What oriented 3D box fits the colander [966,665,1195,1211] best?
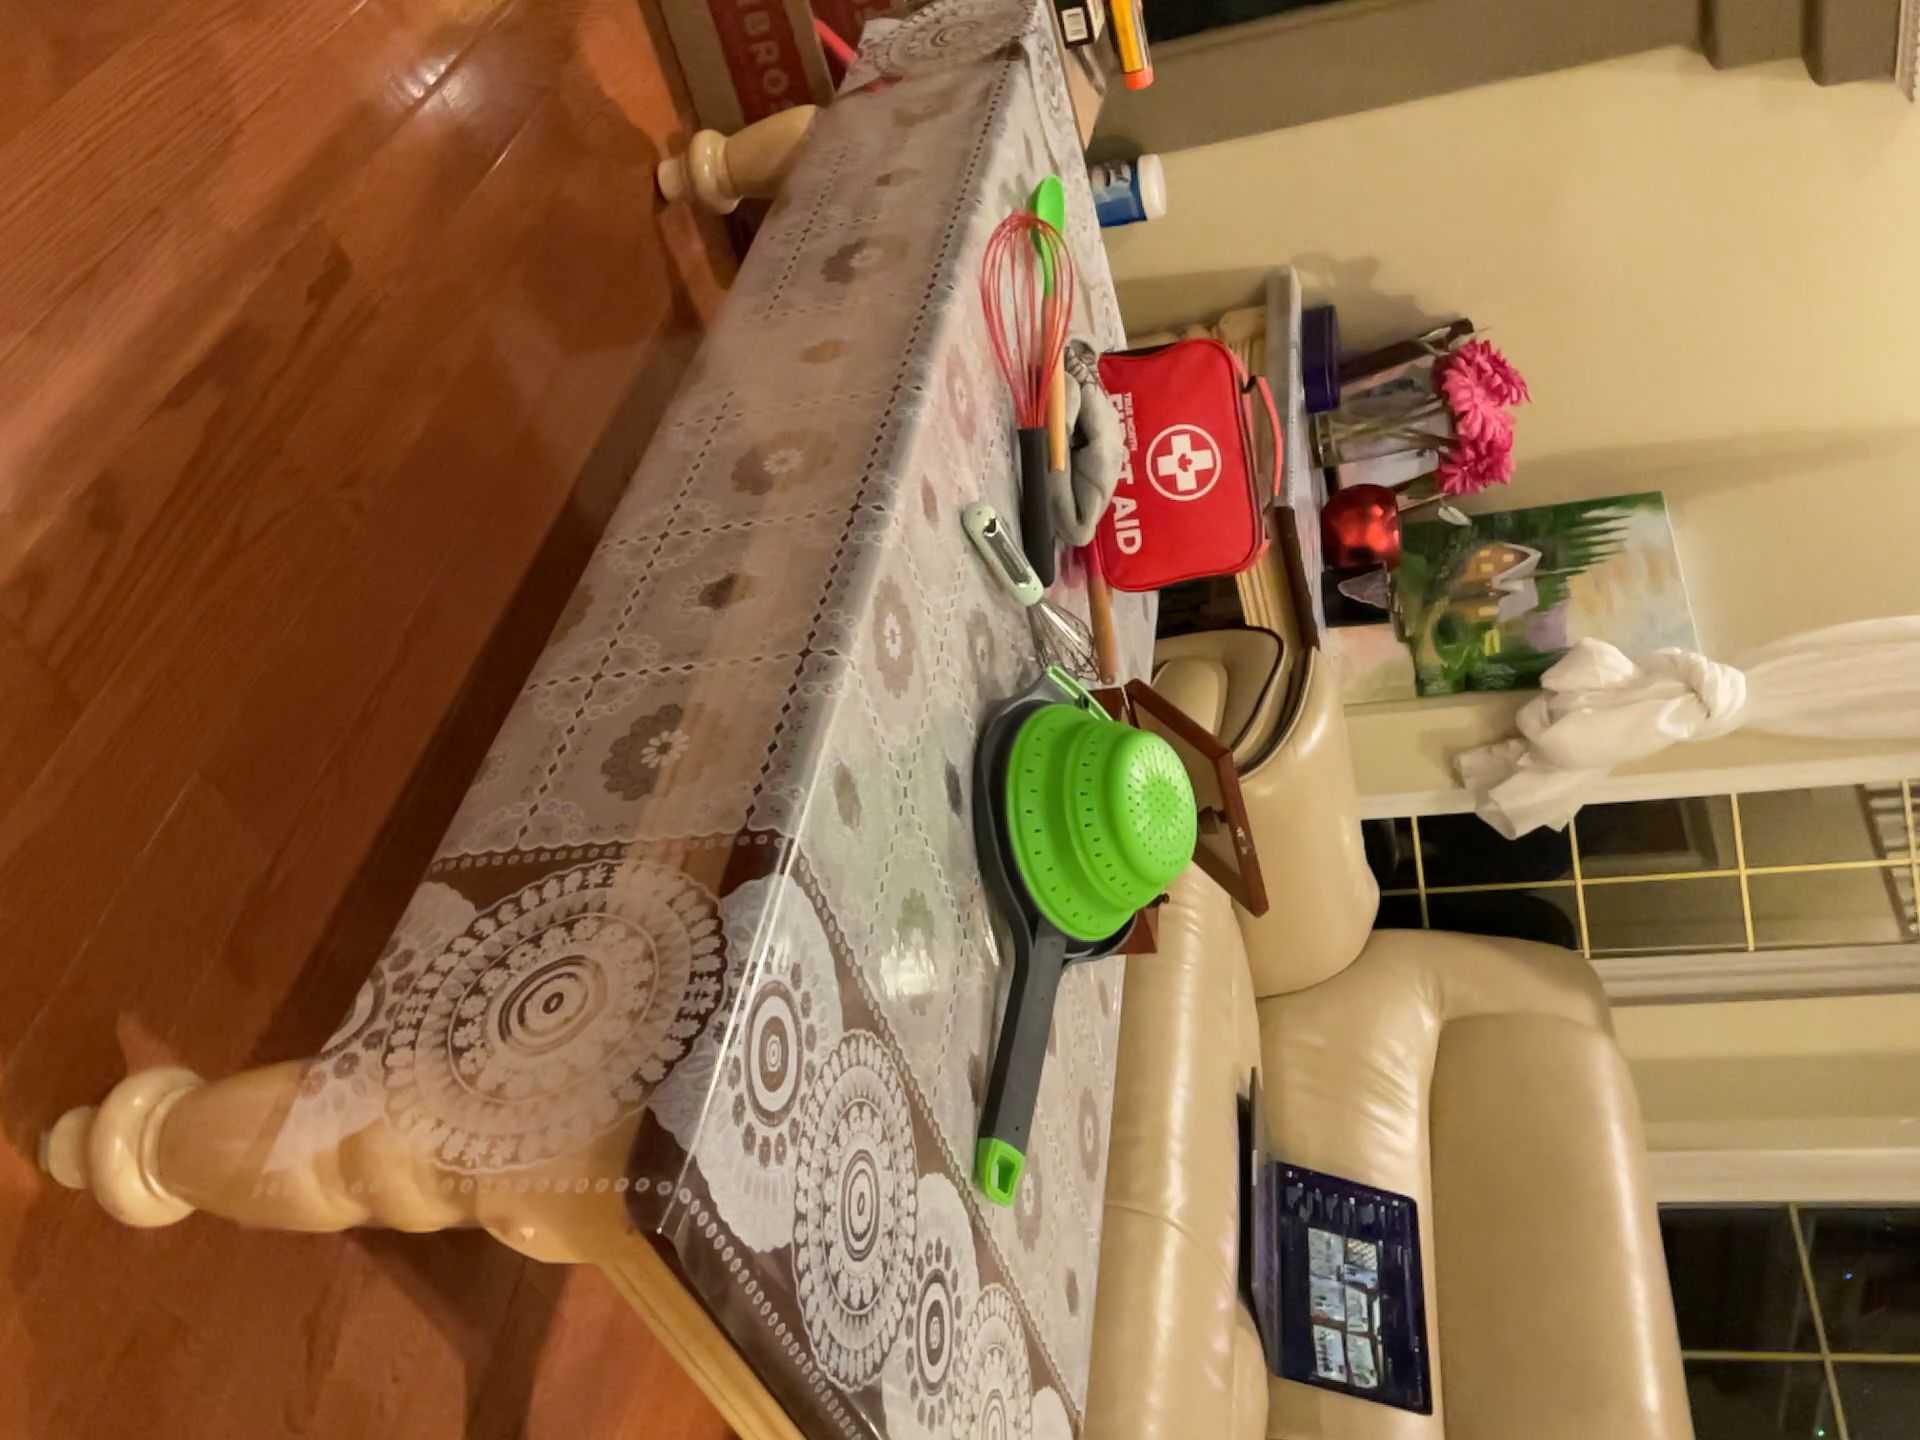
[{"bbox_3d":[0.085,0.136,1.088,0.204,0.094,0.397,42,49,-37],"label":"colander"}]

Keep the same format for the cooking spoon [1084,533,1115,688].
[{"bbox_3d":[0.118,-0.110,1.375,0.319,0.017,0.068,-87,162,-60],"label":"cooking spoon"}]

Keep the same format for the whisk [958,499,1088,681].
[{"bbox_3d":[0.048,-0.093,1.212,0.058,0.059,0.246,46,-4,34],"label":"whisk"}]

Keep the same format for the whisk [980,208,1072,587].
[{"bbox_3d":[0.056,-0.250,1.258,0.073,0.073,0.295,-59,147,-72],"label":"whisk"}]

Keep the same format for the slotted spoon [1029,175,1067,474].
[{"bbox_3d":[0.076,-0.338,1.352,0.070,0.031,0.314,57,30,-56],"label":"slotted spoon"}]
